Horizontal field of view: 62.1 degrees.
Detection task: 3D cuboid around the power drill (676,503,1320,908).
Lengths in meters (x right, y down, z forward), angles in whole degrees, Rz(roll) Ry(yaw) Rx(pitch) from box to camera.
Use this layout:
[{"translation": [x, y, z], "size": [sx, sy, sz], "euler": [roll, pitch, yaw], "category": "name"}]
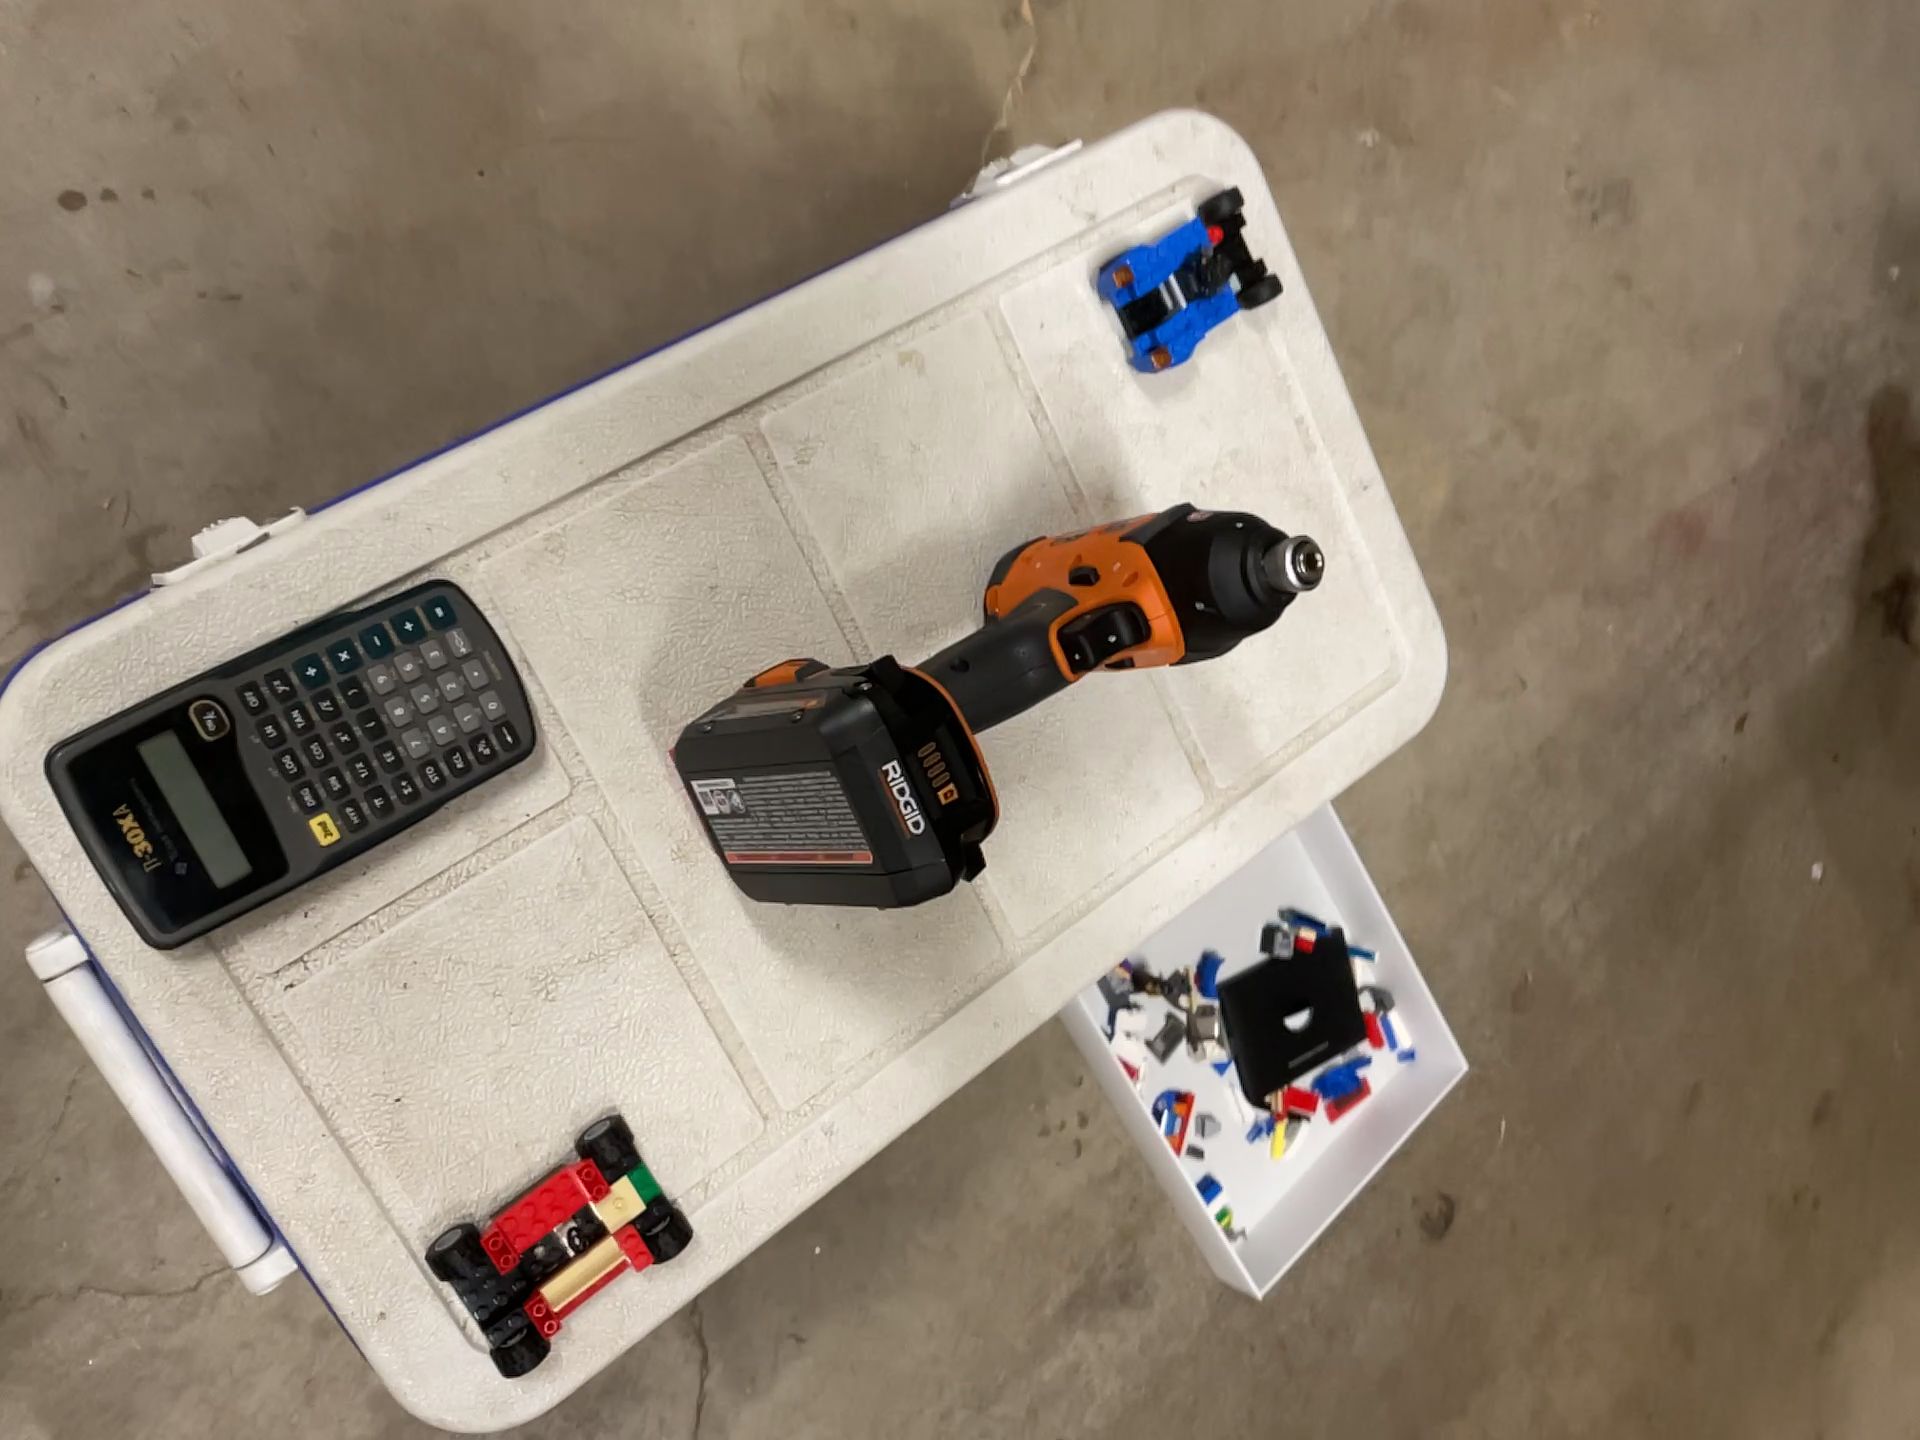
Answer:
[{"translation": [0.023, -0.017, 0.608], "size": [0.227, 0.164, 0.084], "euler": [-33, 106, -36], "category": "power drill"}]
